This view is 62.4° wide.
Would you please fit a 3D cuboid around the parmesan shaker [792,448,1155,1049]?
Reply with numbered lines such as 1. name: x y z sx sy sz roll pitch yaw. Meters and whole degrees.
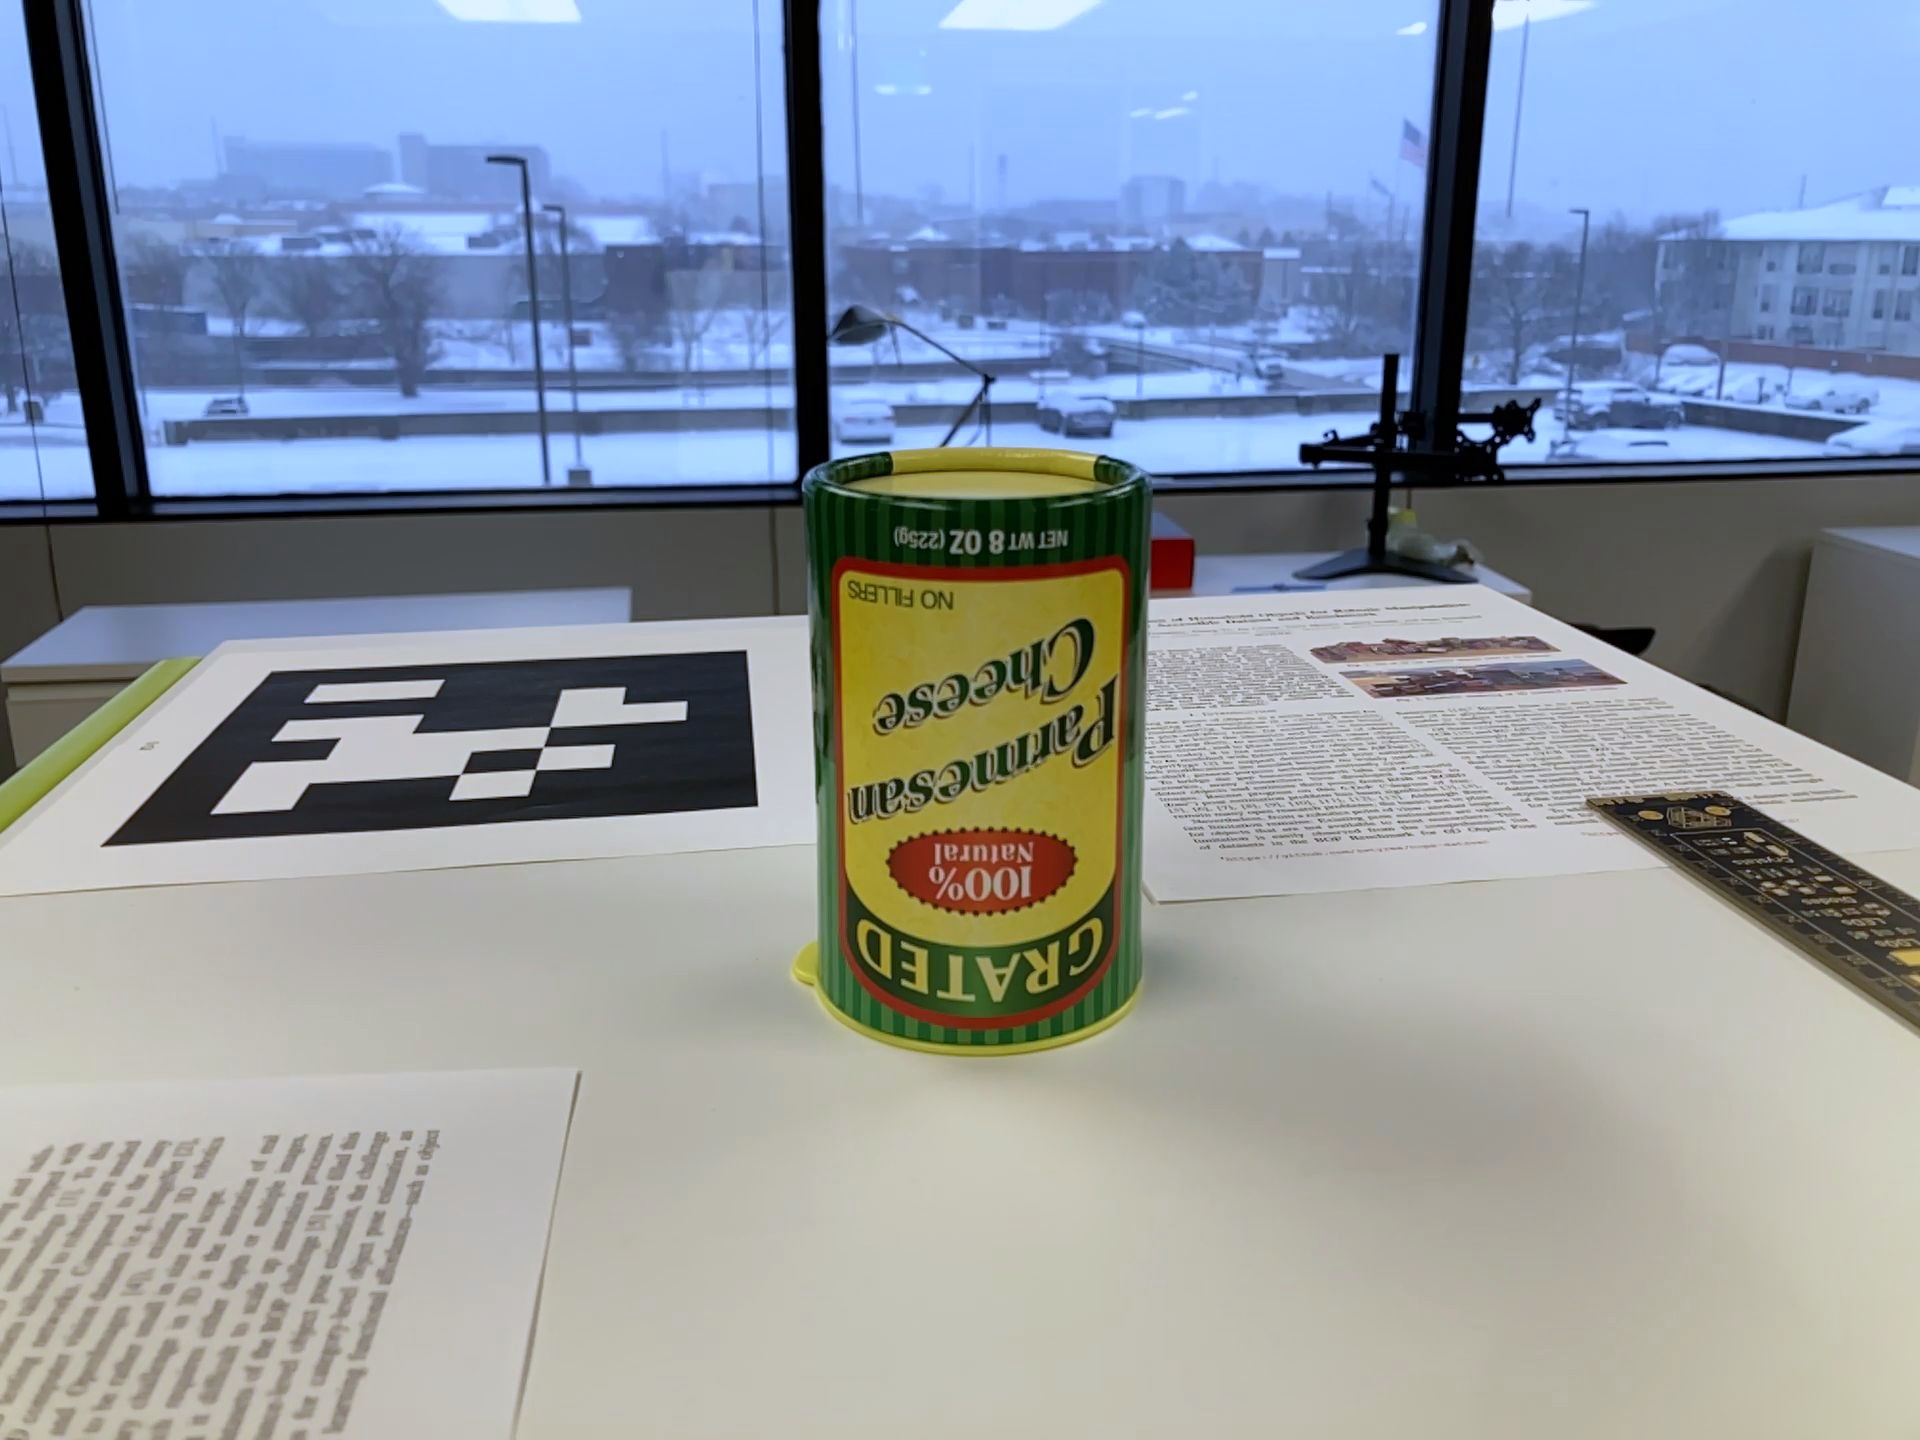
1. parmesan shaker: 0.001 0.002 0.308 0.071 0.103 0.071 -1 16 0
